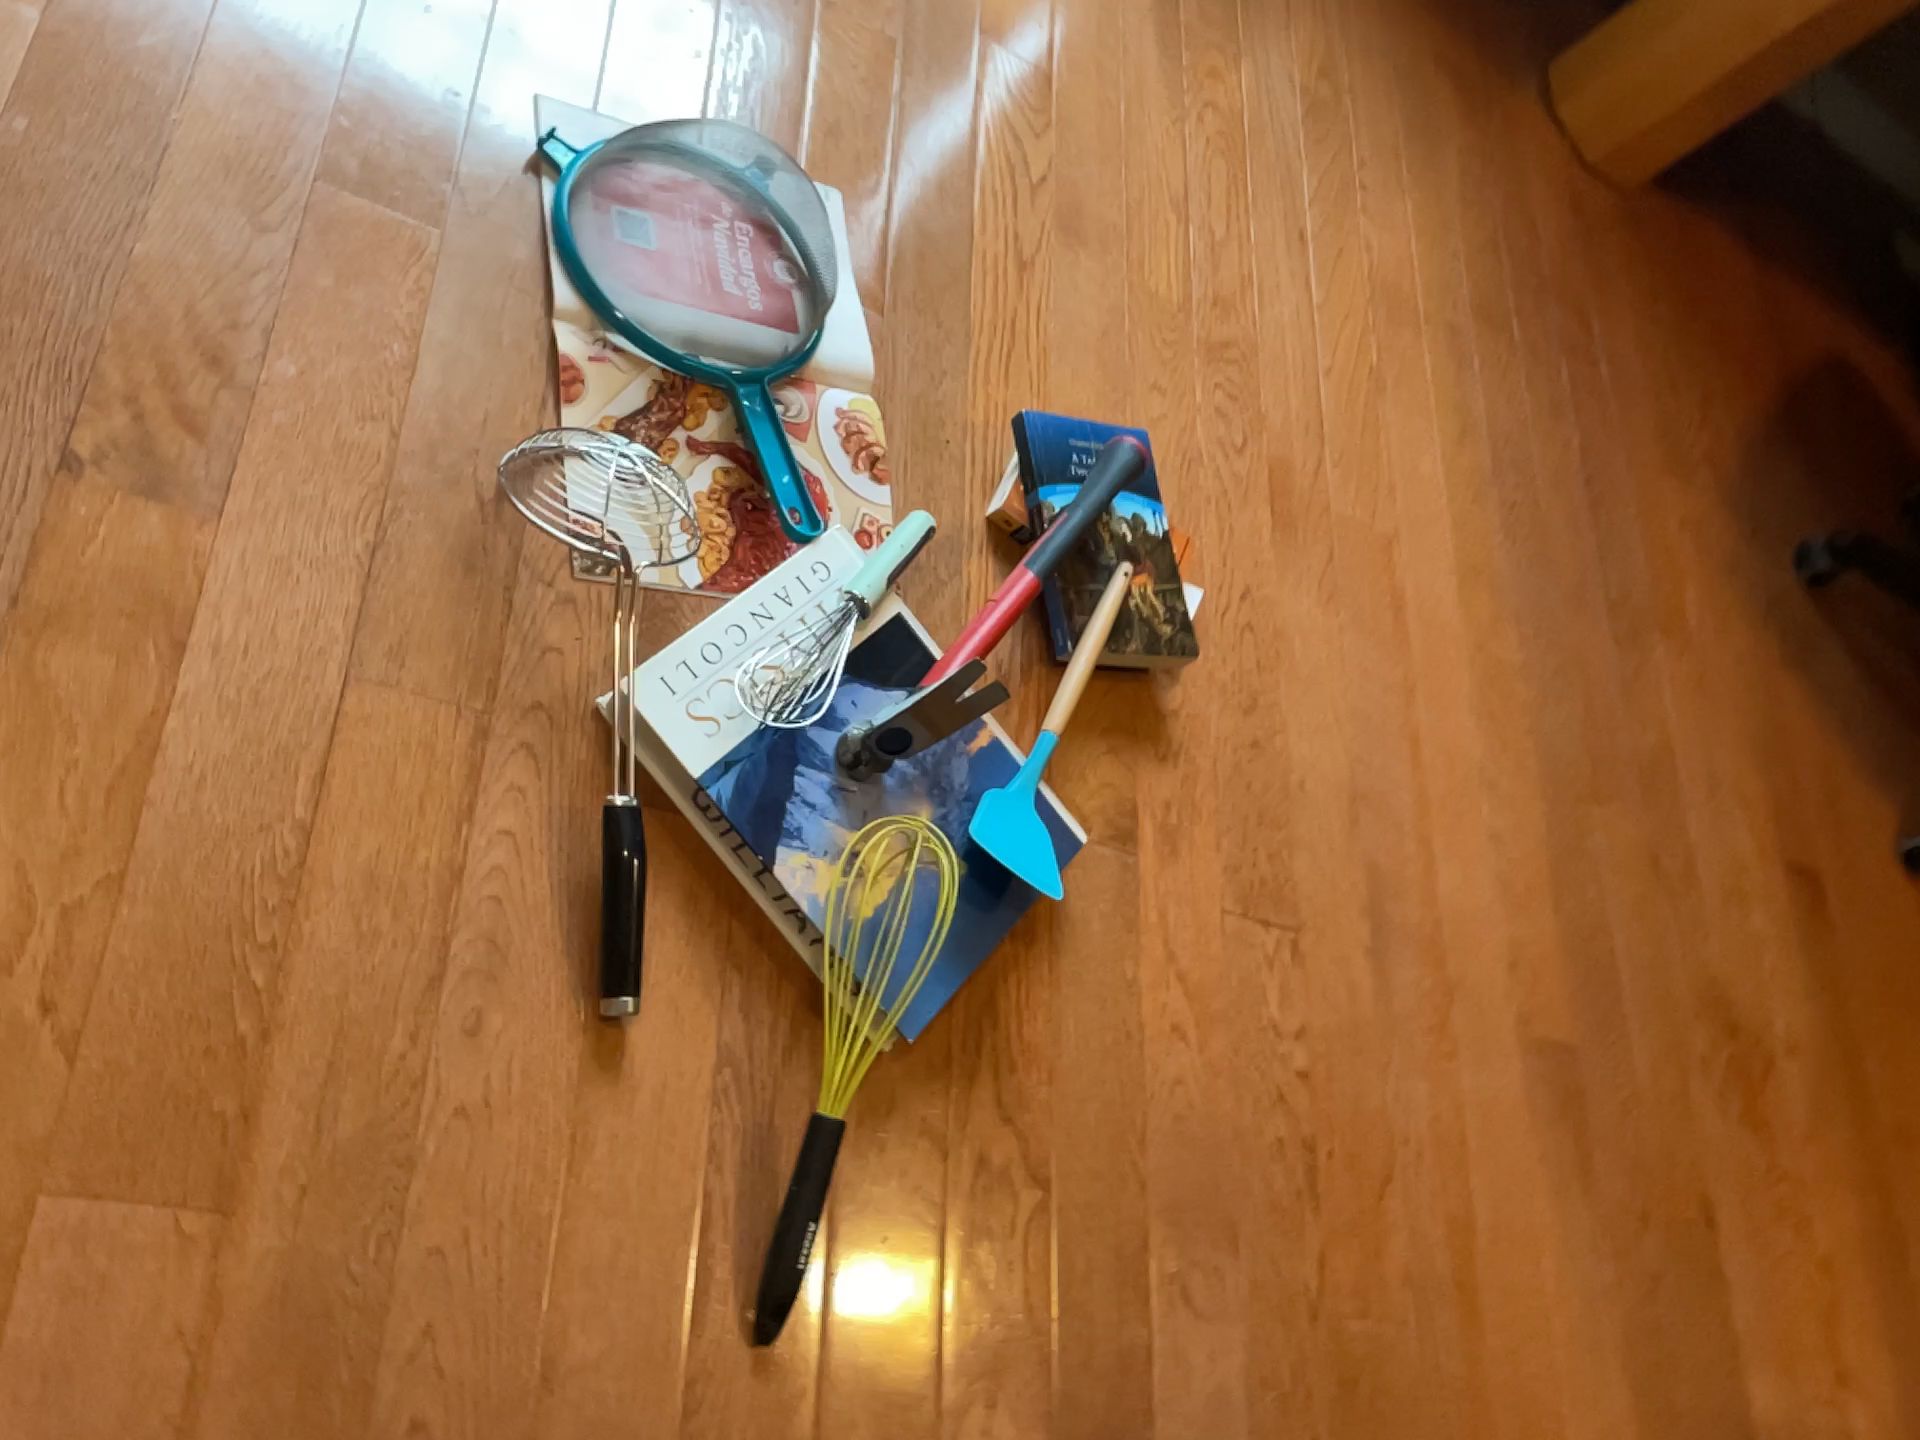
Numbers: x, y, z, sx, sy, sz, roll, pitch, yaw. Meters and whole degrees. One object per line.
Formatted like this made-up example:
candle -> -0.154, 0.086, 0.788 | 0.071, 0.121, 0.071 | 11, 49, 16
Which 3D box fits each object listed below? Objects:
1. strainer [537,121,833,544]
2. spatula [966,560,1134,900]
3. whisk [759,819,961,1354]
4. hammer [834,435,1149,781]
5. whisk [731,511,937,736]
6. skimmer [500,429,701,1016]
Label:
strainer -> -0.143, -0.286, 1.091 | 0.211, 0.095, 0.341 | -8, 67, -40
spatula -> 0.078, -0.010, 1.120 | 0.082, 0.044, 0.318 | 38, 51, -15
whisk -> -0.068, 0.205, 0.925 | 0.080, 0.067, 0.312 | 31, 67, -41
hammer -> 0.056, -0.102, 1.096 | 0.038, 0.143, 0.387 | 49, 46, -12
whisk -> -0.073, -0.069, 1.040 | 0.059, 0.057, 0.247 | 23, 44, 11
skimmer -> -0.214, -0.006, 0.958 | 0.127, 0.090, 0.363 | 7, 76, -37
